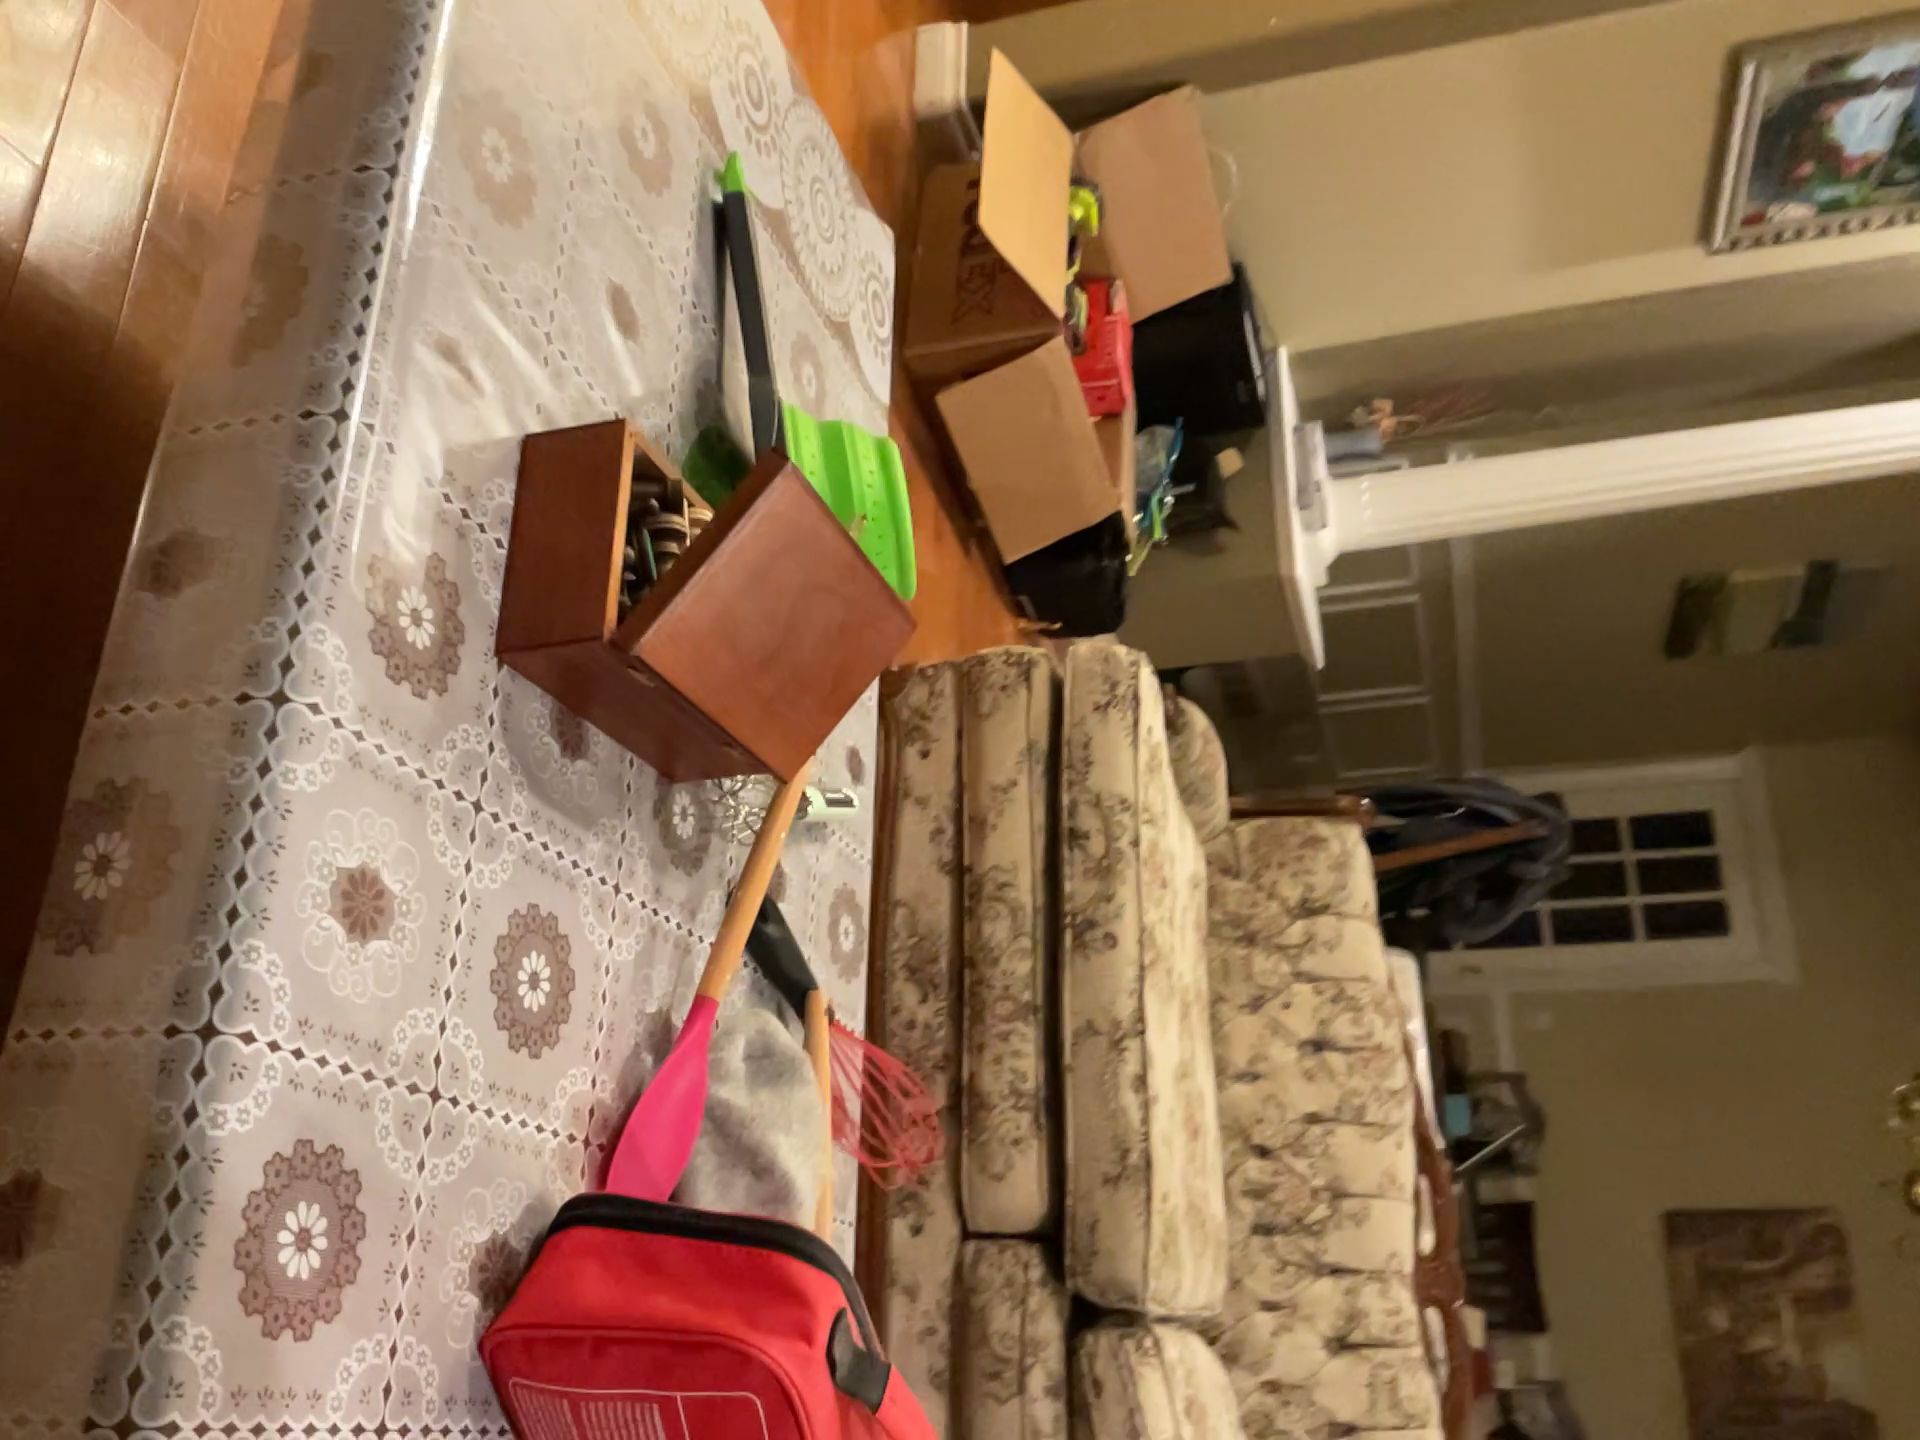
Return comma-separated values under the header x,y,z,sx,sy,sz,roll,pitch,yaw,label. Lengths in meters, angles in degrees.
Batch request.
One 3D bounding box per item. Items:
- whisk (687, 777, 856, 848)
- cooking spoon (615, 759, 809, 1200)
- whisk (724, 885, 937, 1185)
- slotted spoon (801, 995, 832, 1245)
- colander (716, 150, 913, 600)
x,y,z,sx,sy,sz,roll,pitch,yaw,label
-0.118,0.057,1.067,0.058,0.059,0.246,-55,166,6,whisk
-0.136,0.139,0.910,0.068,0.017,0.319,64,36,-52,cooking spoon
-0.087,0.217,1.080,0.295,0.073,0.073,64,31,-33,whisk
-0.091,0.336,1.027,0.070,0.031,0.314,13,75,-72,slotted spoon
-0.096,-0.206,1.063,0.204,0.094,0.397,97,-16,-75,colander
